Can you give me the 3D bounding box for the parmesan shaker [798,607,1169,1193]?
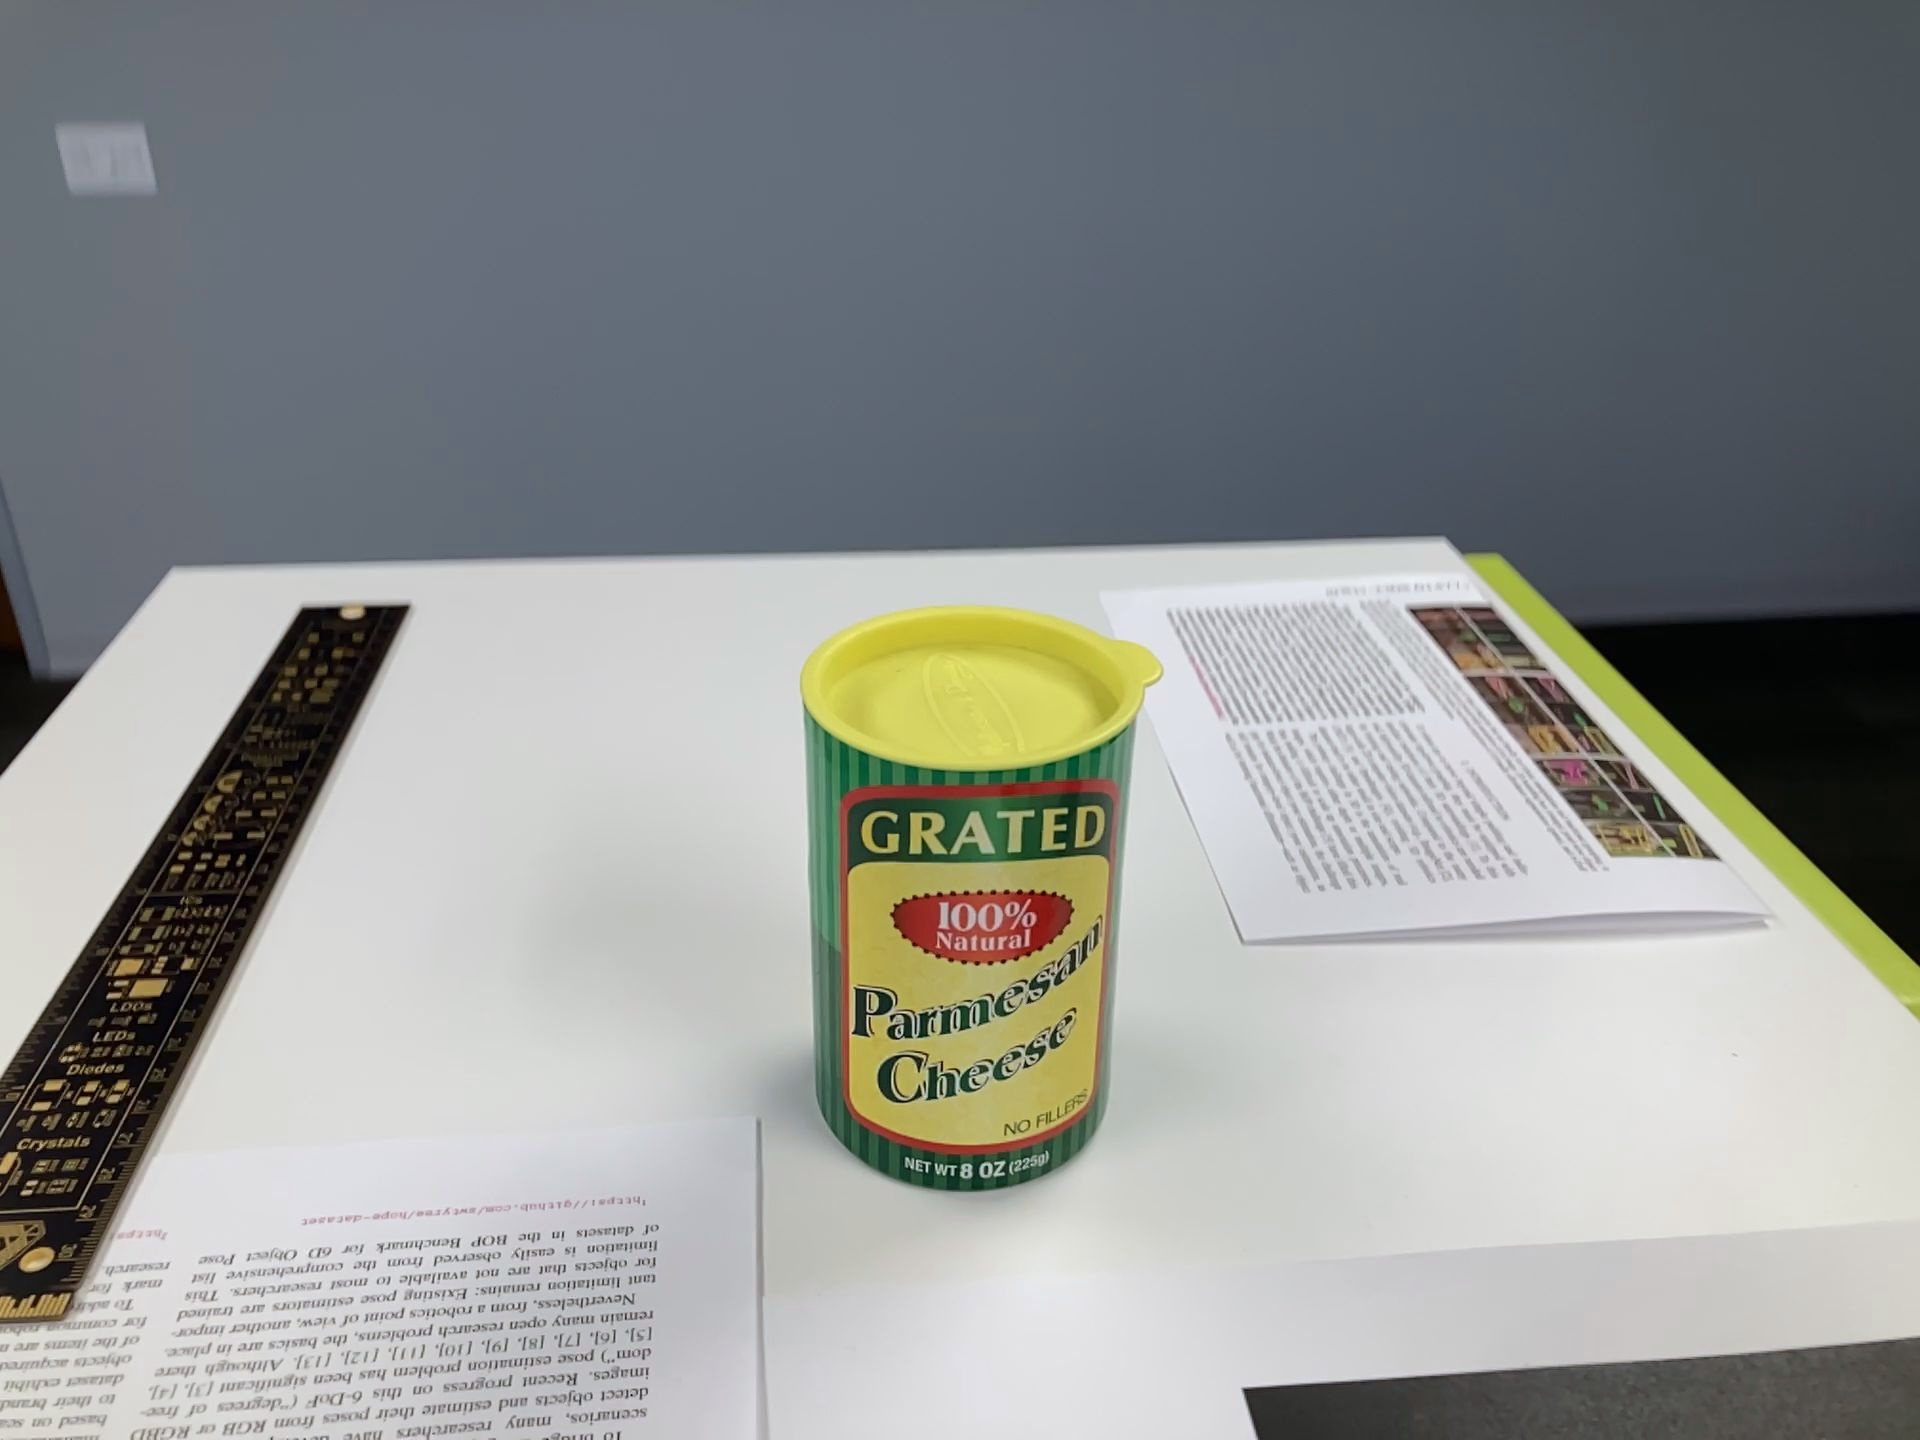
[{"bbox_3d":[0.005,0.037,0.326,0.071,0.103,0.071,0,28,0],"label":"parmesan shaker"}]
